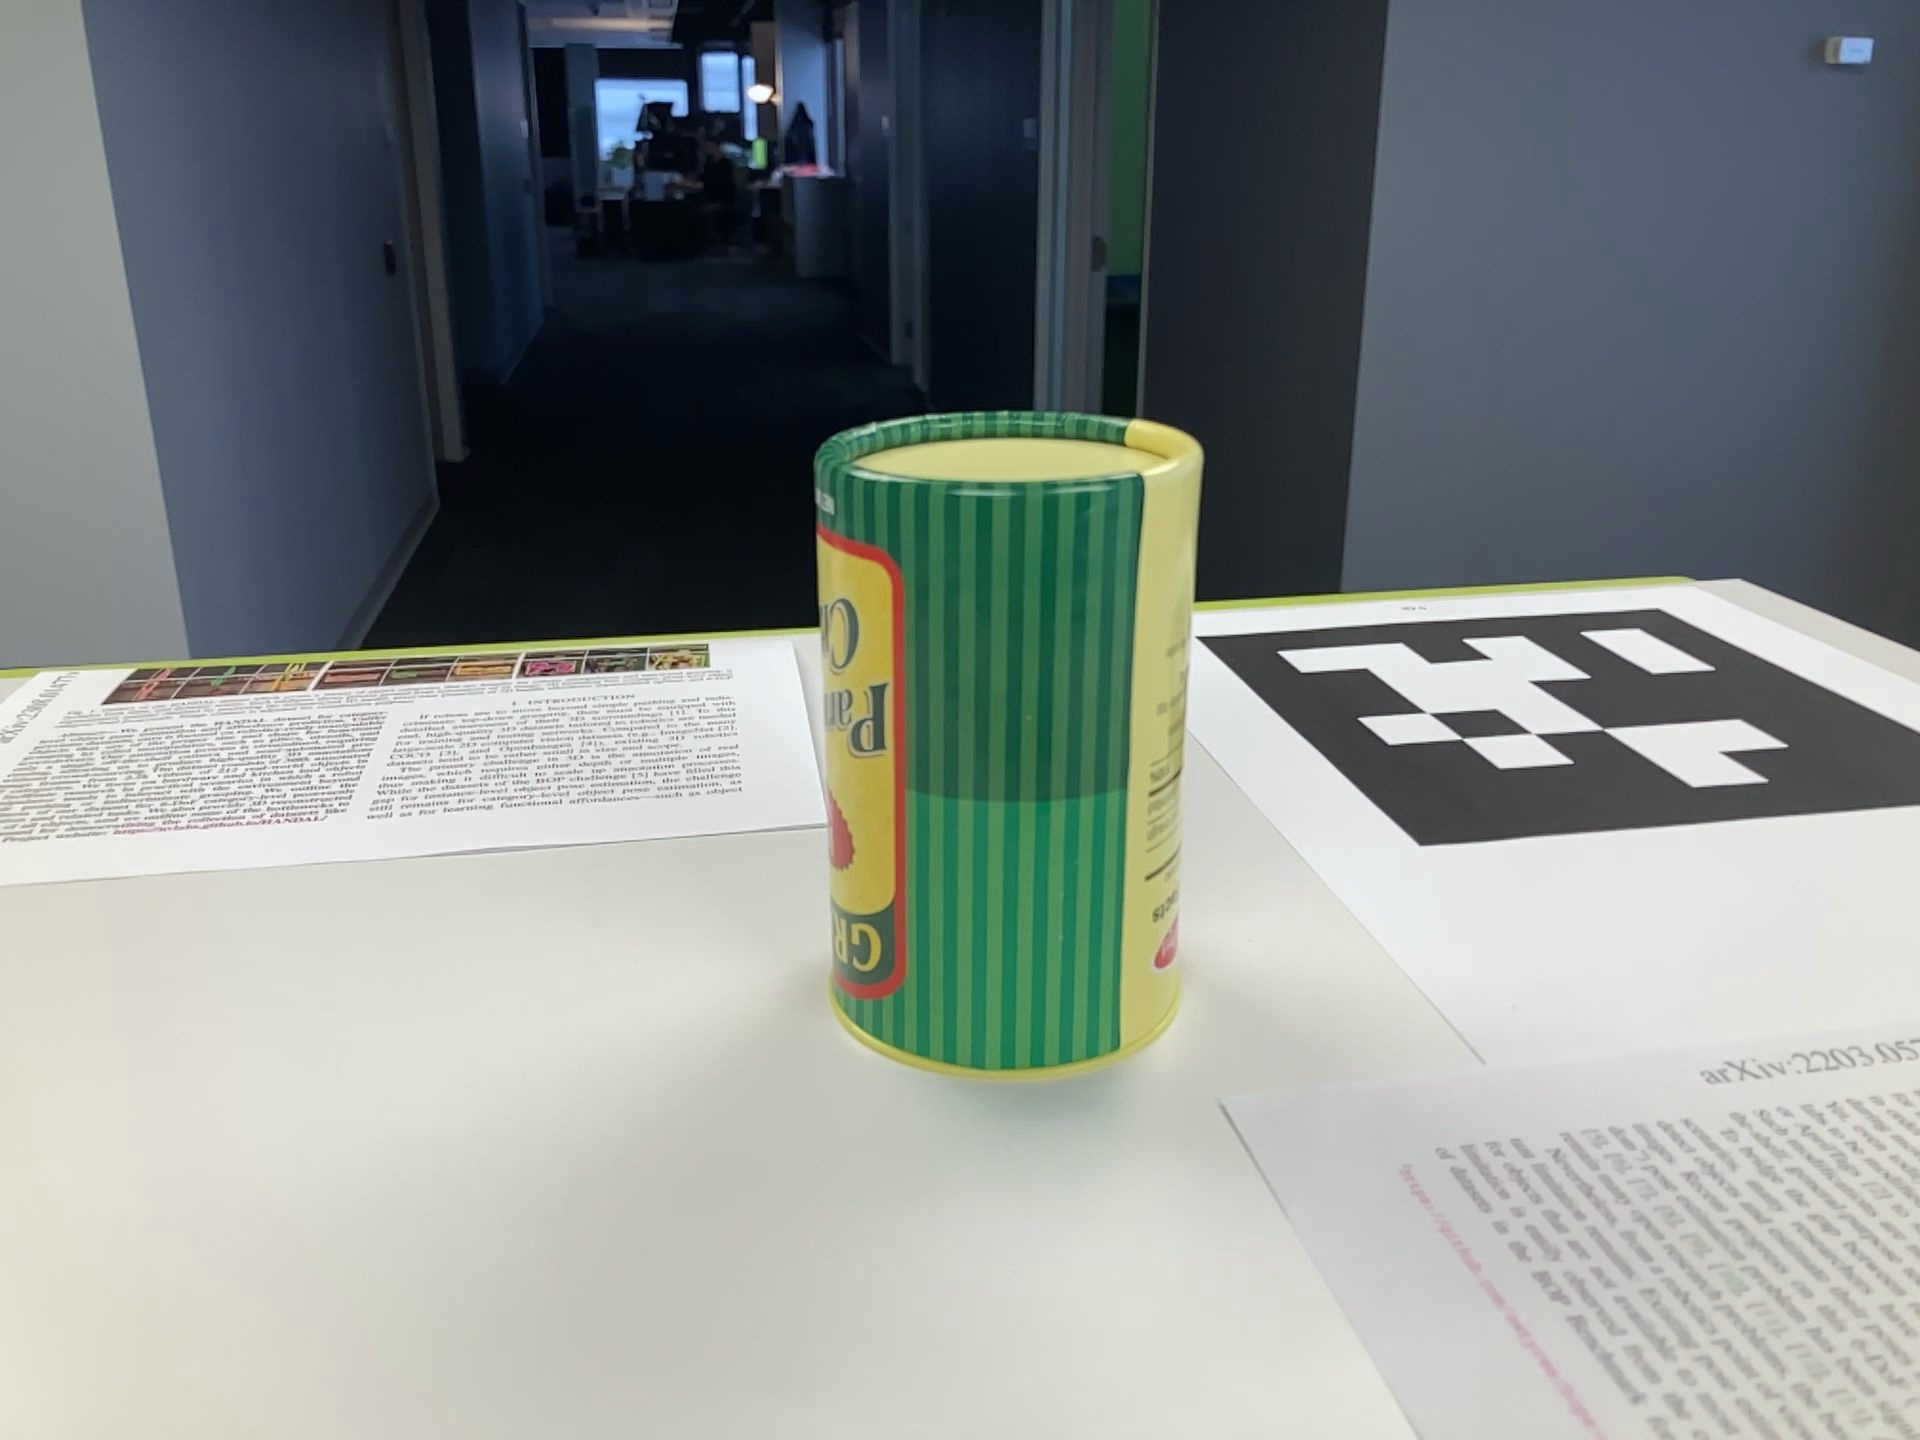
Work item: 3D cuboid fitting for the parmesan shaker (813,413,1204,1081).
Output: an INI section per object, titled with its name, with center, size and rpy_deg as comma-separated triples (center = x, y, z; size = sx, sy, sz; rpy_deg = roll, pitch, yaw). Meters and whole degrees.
[parmesan shaker]
center = 0.008, 0.001, 0.284
size = 0.071, 0.103, 0.071
rpy_deg = -1, 19, 0
